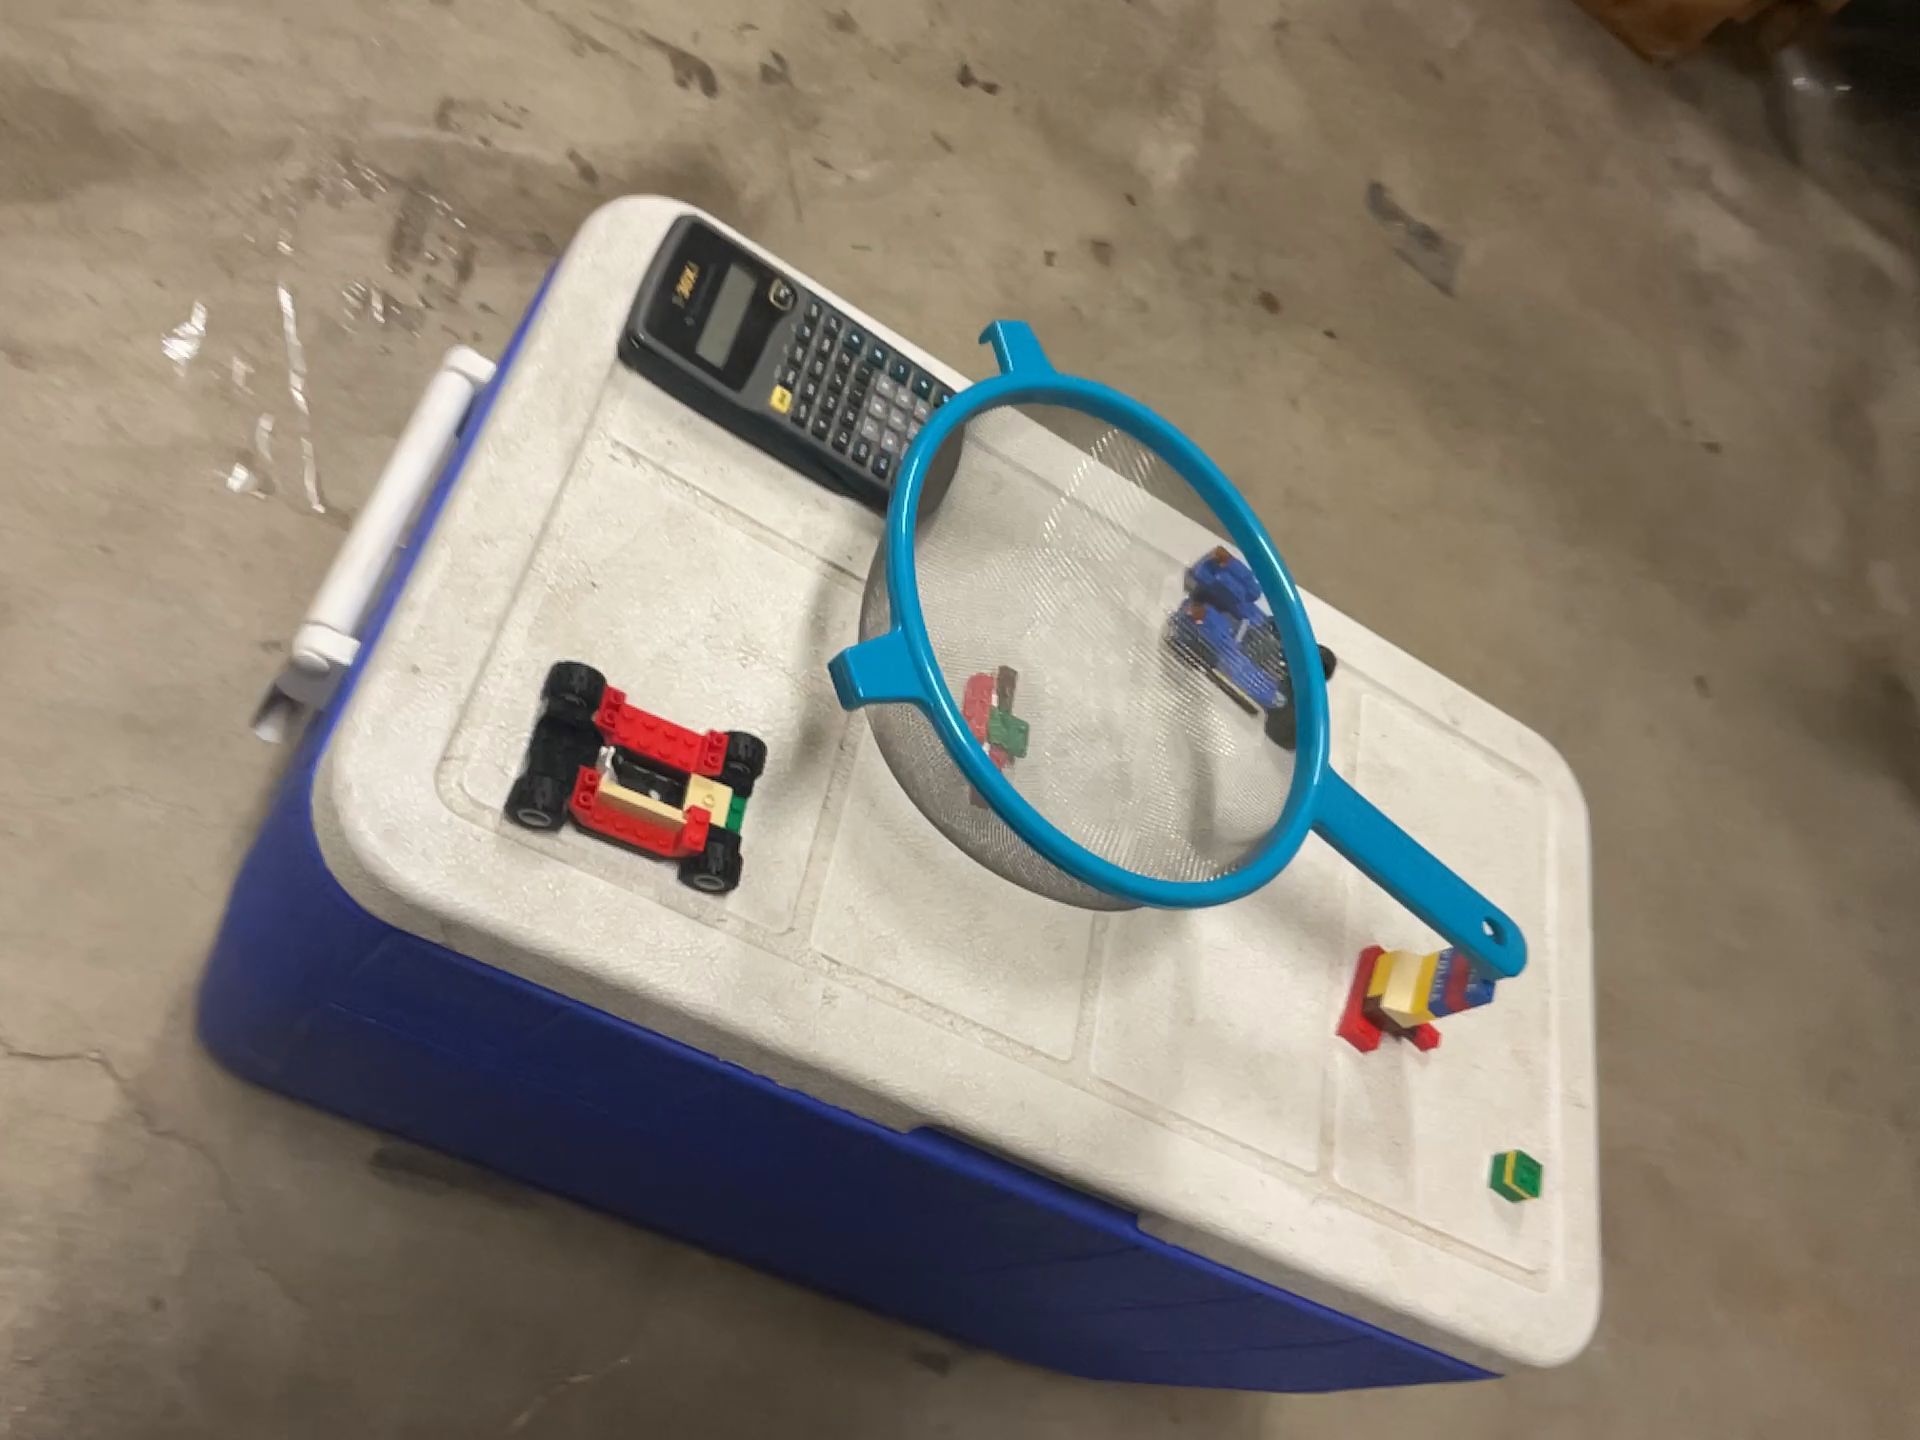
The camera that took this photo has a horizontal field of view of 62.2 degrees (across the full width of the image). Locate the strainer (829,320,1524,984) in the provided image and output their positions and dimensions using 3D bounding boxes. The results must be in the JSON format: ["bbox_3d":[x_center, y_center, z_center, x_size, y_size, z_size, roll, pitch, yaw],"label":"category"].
[{"bbox_3d":[0.085,0.017,0.633,0.340,0.095,0.211,38,50,-21],"label":"strainer"}]
